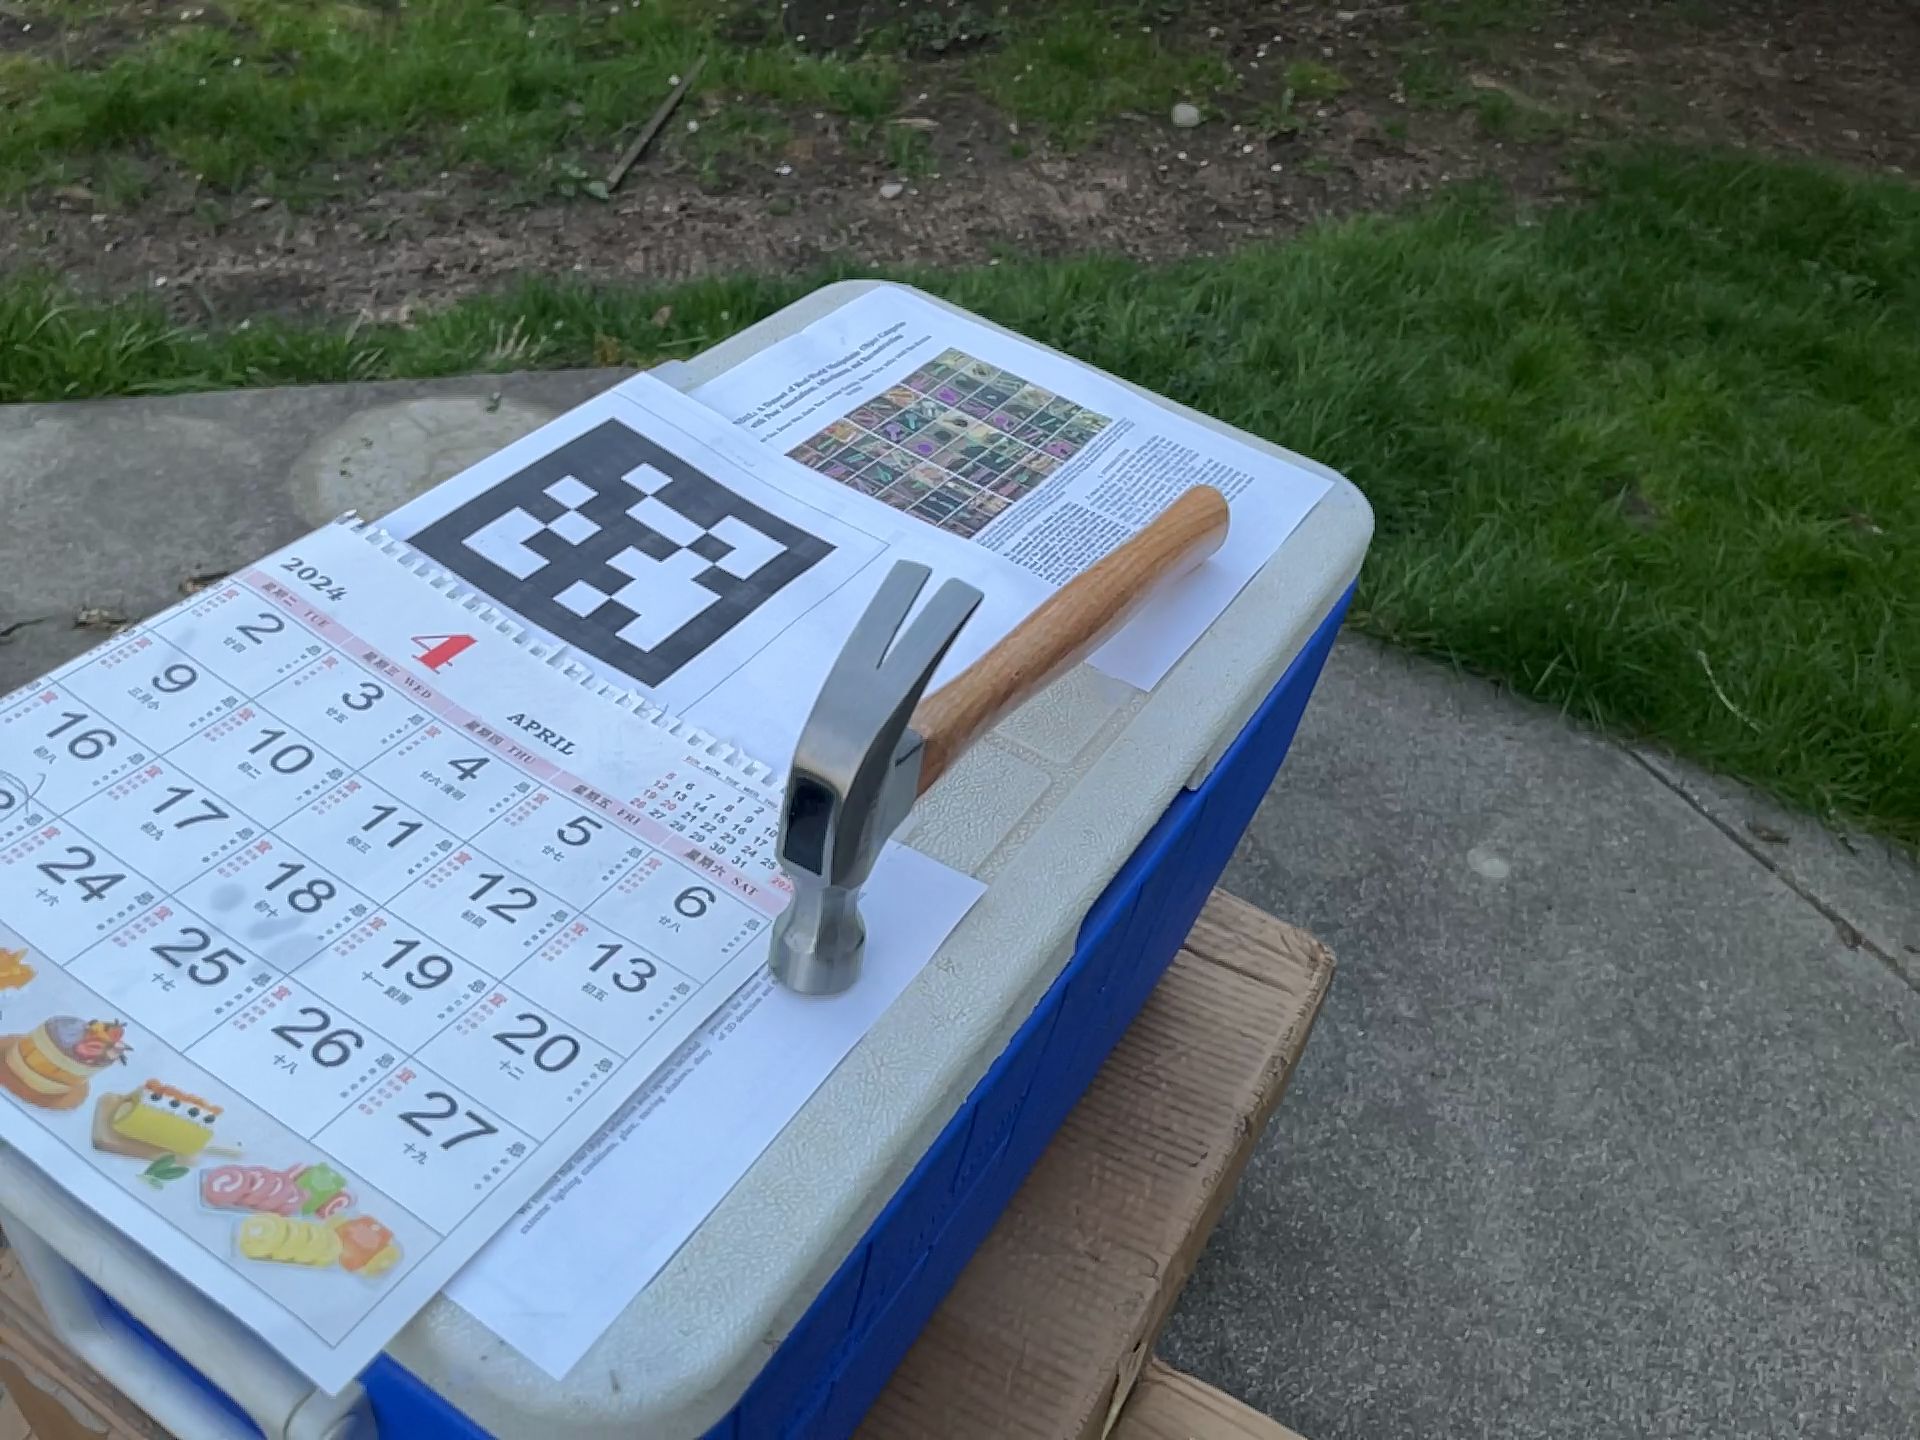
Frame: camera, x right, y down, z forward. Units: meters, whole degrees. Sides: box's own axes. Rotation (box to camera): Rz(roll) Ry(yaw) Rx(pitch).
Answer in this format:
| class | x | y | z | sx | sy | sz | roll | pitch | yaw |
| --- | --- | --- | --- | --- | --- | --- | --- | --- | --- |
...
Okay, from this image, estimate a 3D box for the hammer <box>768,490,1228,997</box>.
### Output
| class | x | y | z | sx | sy | sz | roll | pitch | yaw |
| --- | --- | --- | --- | --- | --- | --- | --- | --- | --- |
| hammer | 0.034 | -0.031 | 0.593 | 0.031 | 0.130 | 0.331 | 23 | 33 | 20 |
